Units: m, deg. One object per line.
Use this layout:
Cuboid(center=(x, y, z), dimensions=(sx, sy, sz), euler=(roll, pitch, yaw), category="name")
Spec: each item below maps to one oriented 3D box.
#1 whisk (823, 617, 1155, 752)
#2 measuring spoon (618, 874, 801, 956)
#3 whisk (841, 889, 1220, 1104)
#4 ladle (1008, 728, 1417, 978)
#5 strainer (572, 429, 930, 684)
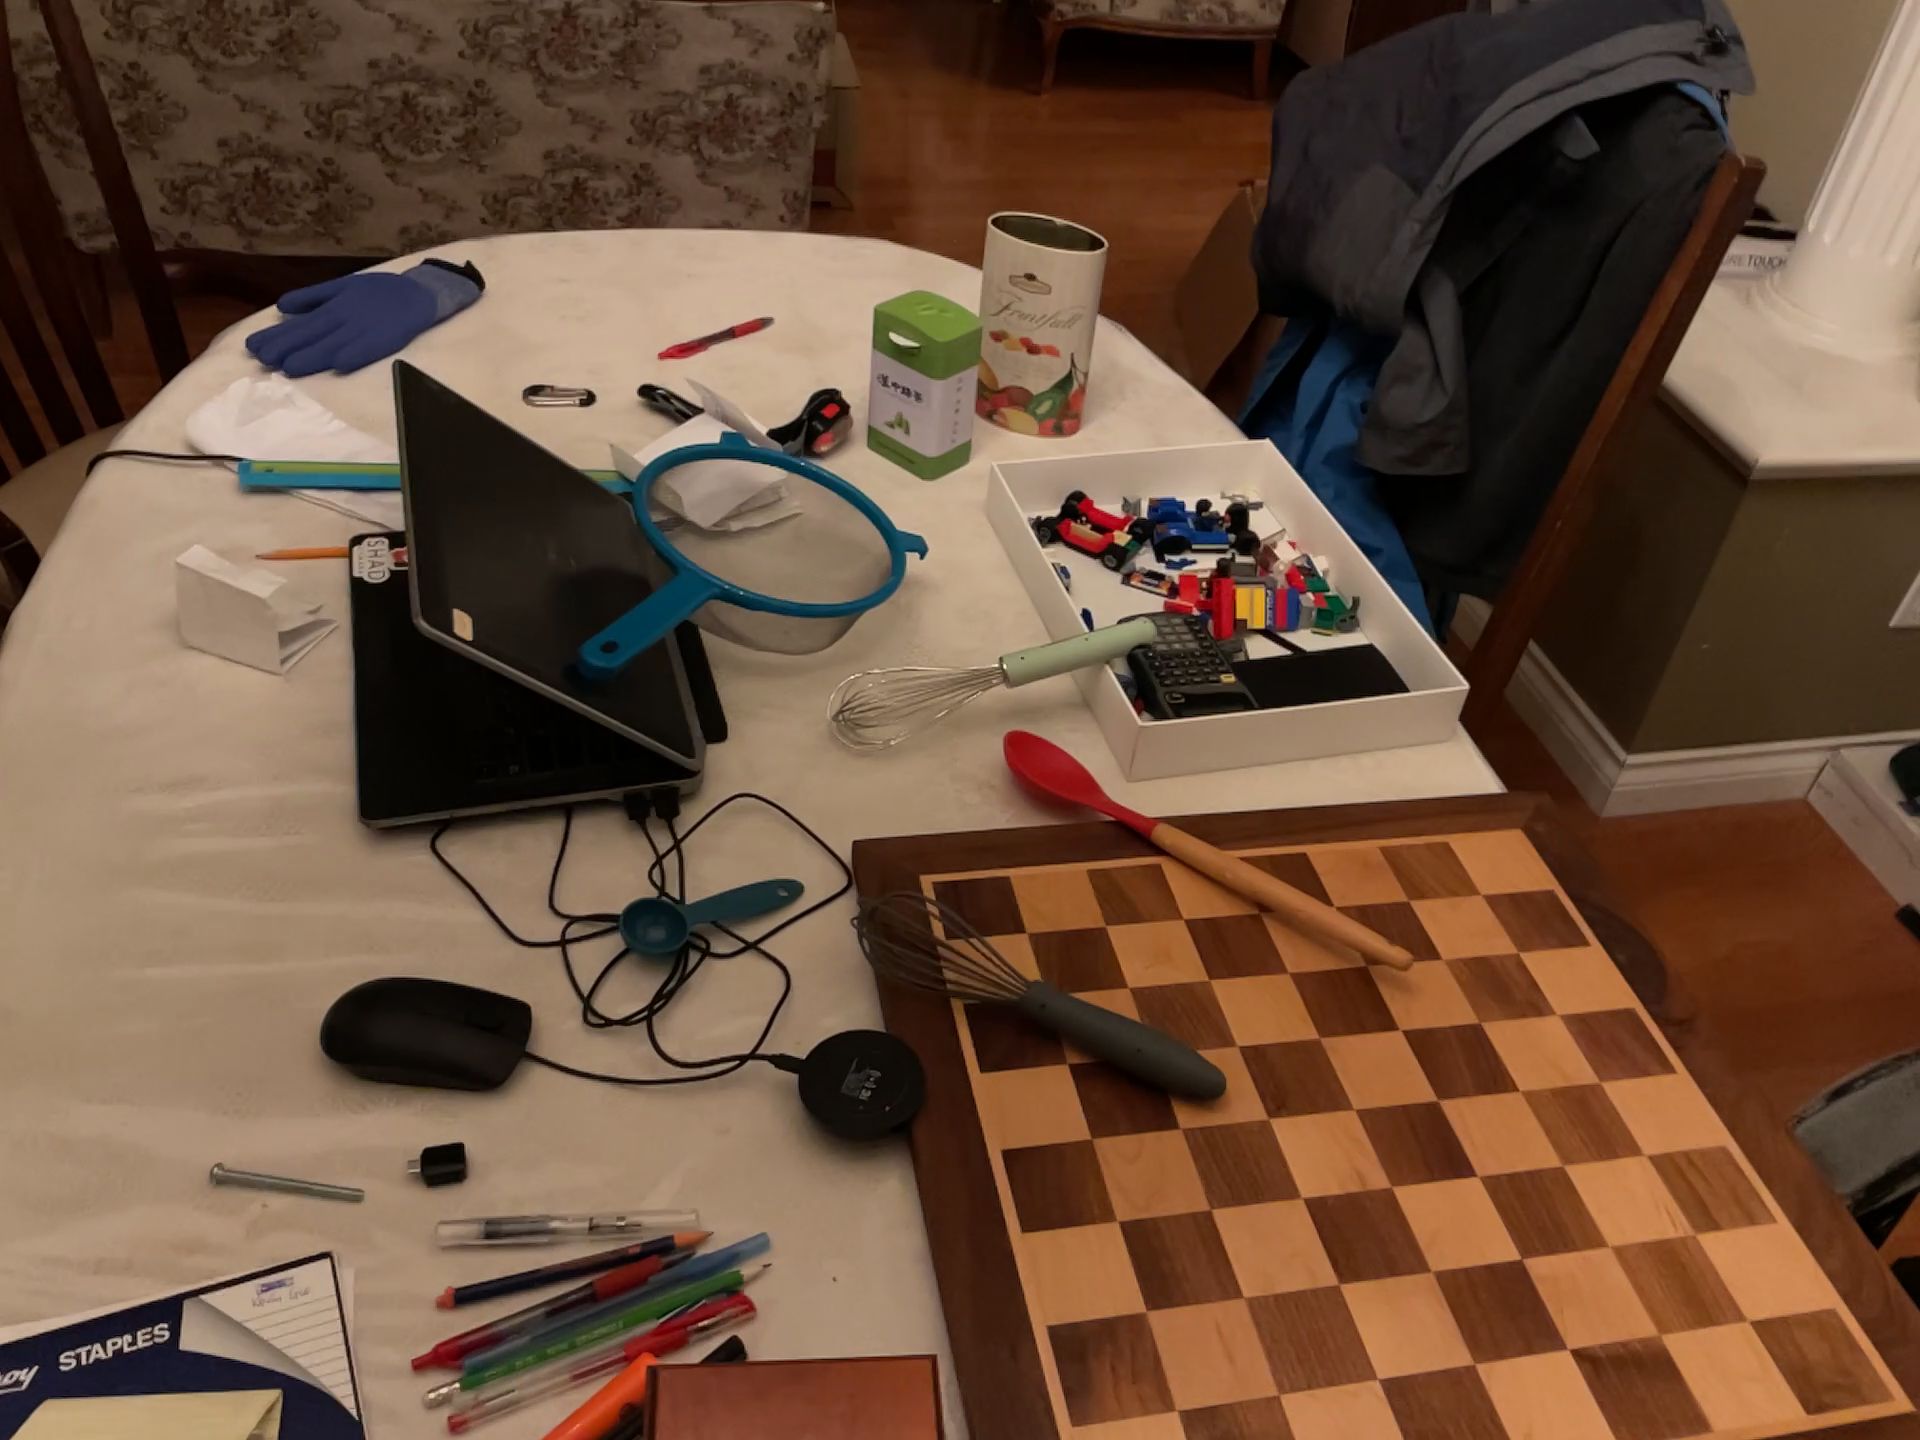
Cuboid(center=(0.022, -0.031, 1.132), dimensions=(0.246, 0.057, 0.059), euler=(-16, 73, -6), category="whisk")
Cuboid(center=(-0.153, 0.119, 0.981), dimensions=(0.128, 0.021, 0.042), euler=(-13, 49, -40), category="measuring spoon")
Cuboid(center=(0.038, 0.161, 0.912), dimensions=(0.239, 0.055, 0.055), euler=(25, 56, 15), category="whisk")
Cuboid(center=(0.153, 0.084, 1.030), dimensions=(0.316, 0.031, 0.069), euler=(29, 22, 32), category="ladle")
Cuboid(center=(-0.179, -0.085, 1.156), dimensions=(0.211, 0.095, 0.340), euler=(30, 38, 8), category="strainer")
